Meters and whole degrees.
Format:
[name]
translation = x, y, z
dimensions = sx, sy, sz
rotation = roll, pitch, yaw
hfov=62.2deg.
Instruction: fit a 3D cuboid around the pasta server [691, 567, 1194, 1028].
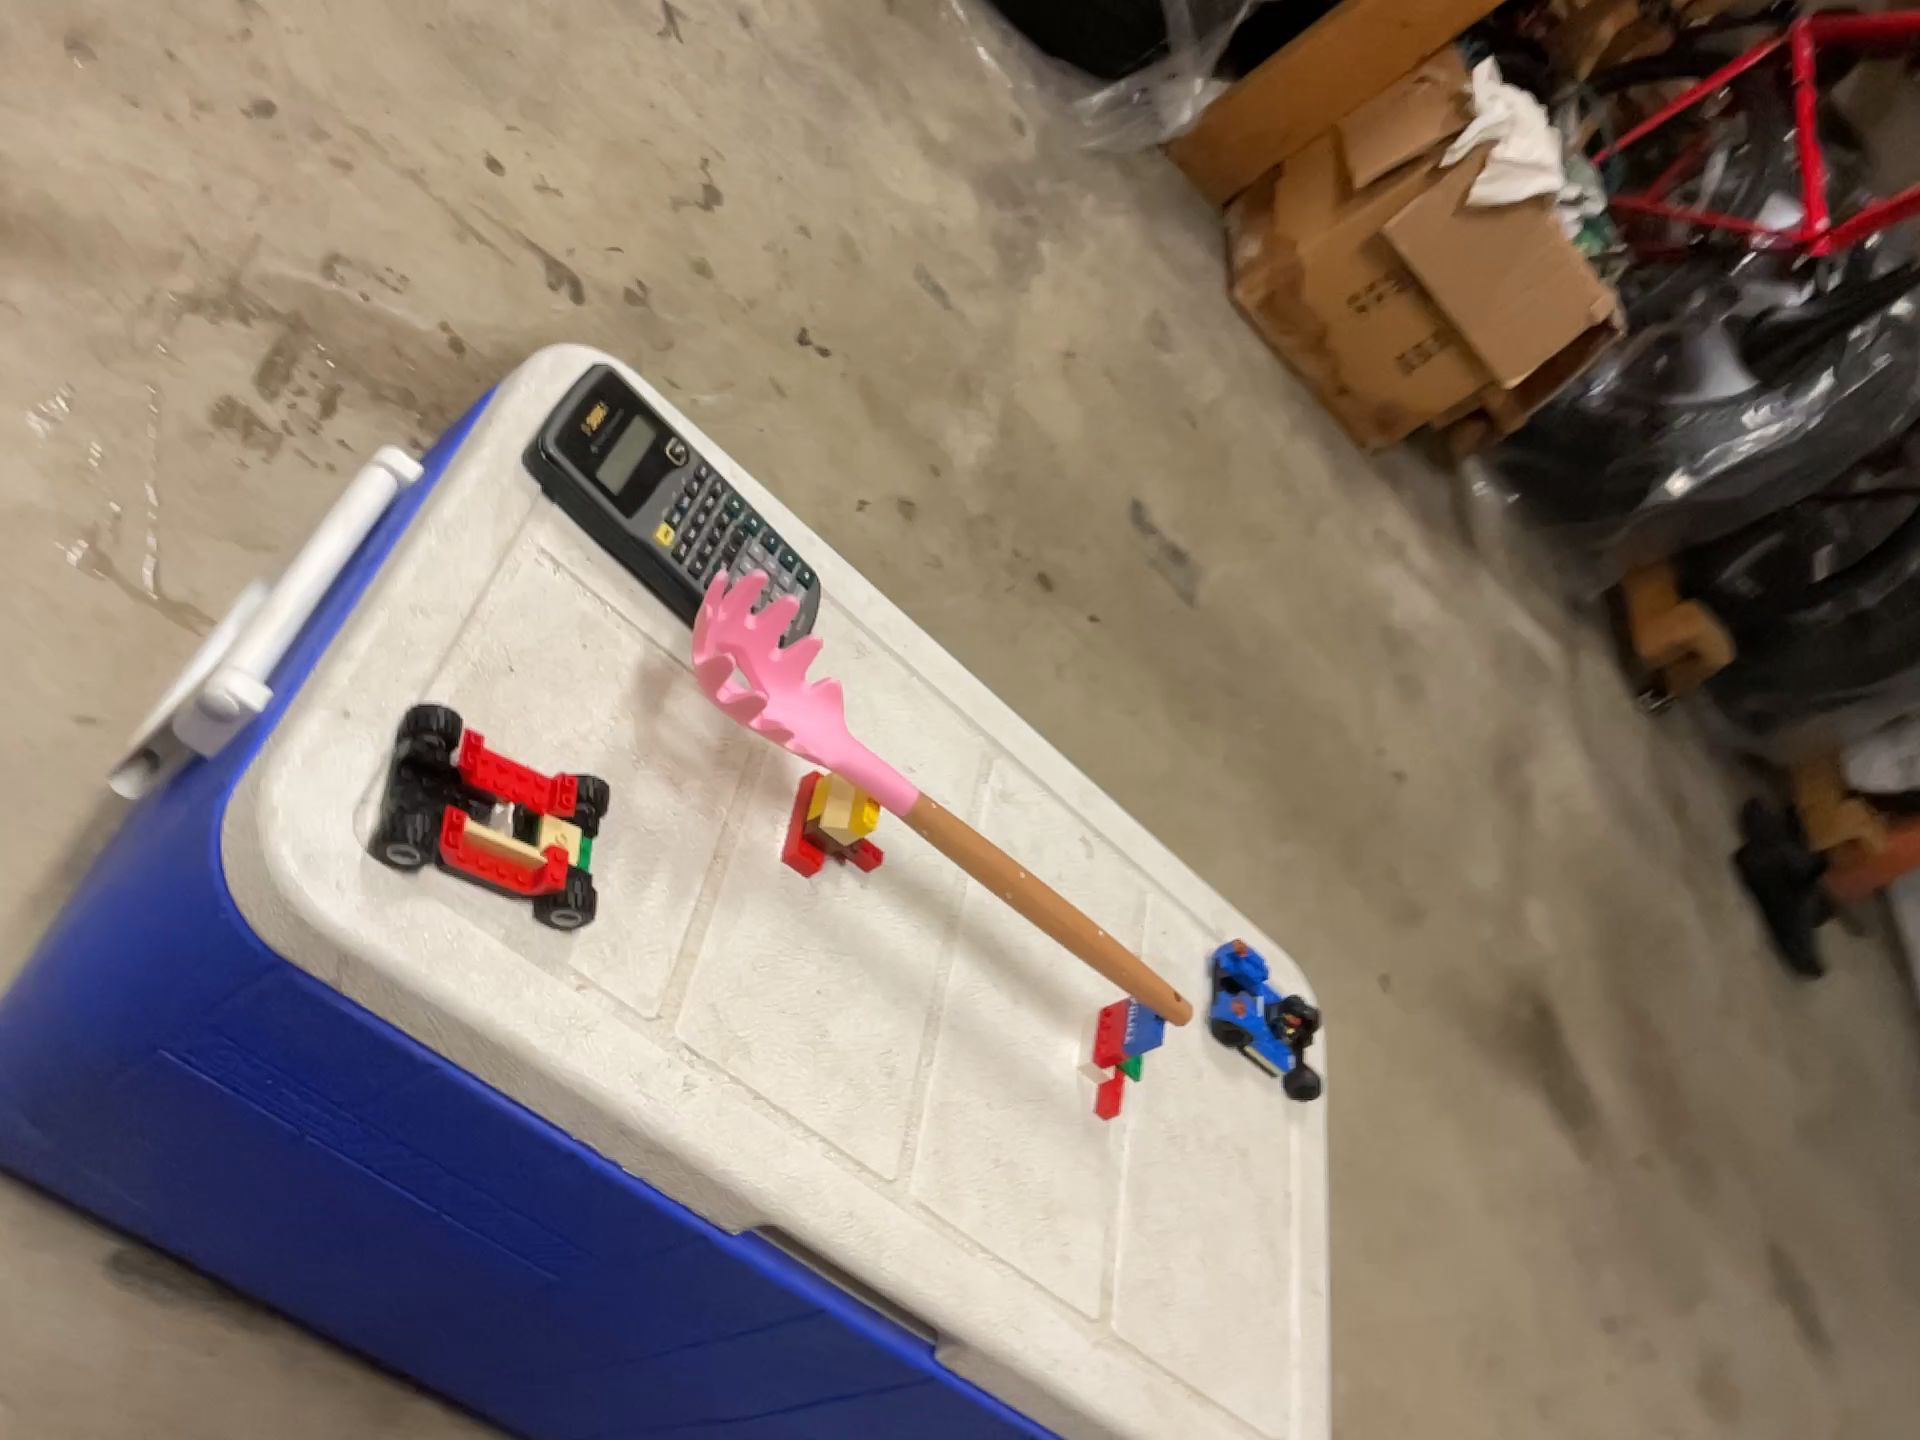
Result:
[pasta server]
translation = 0.002, 0.048, 0.689
dimensions = 0.316, 0.040, 0.060
rotation = 40, 40, -25
